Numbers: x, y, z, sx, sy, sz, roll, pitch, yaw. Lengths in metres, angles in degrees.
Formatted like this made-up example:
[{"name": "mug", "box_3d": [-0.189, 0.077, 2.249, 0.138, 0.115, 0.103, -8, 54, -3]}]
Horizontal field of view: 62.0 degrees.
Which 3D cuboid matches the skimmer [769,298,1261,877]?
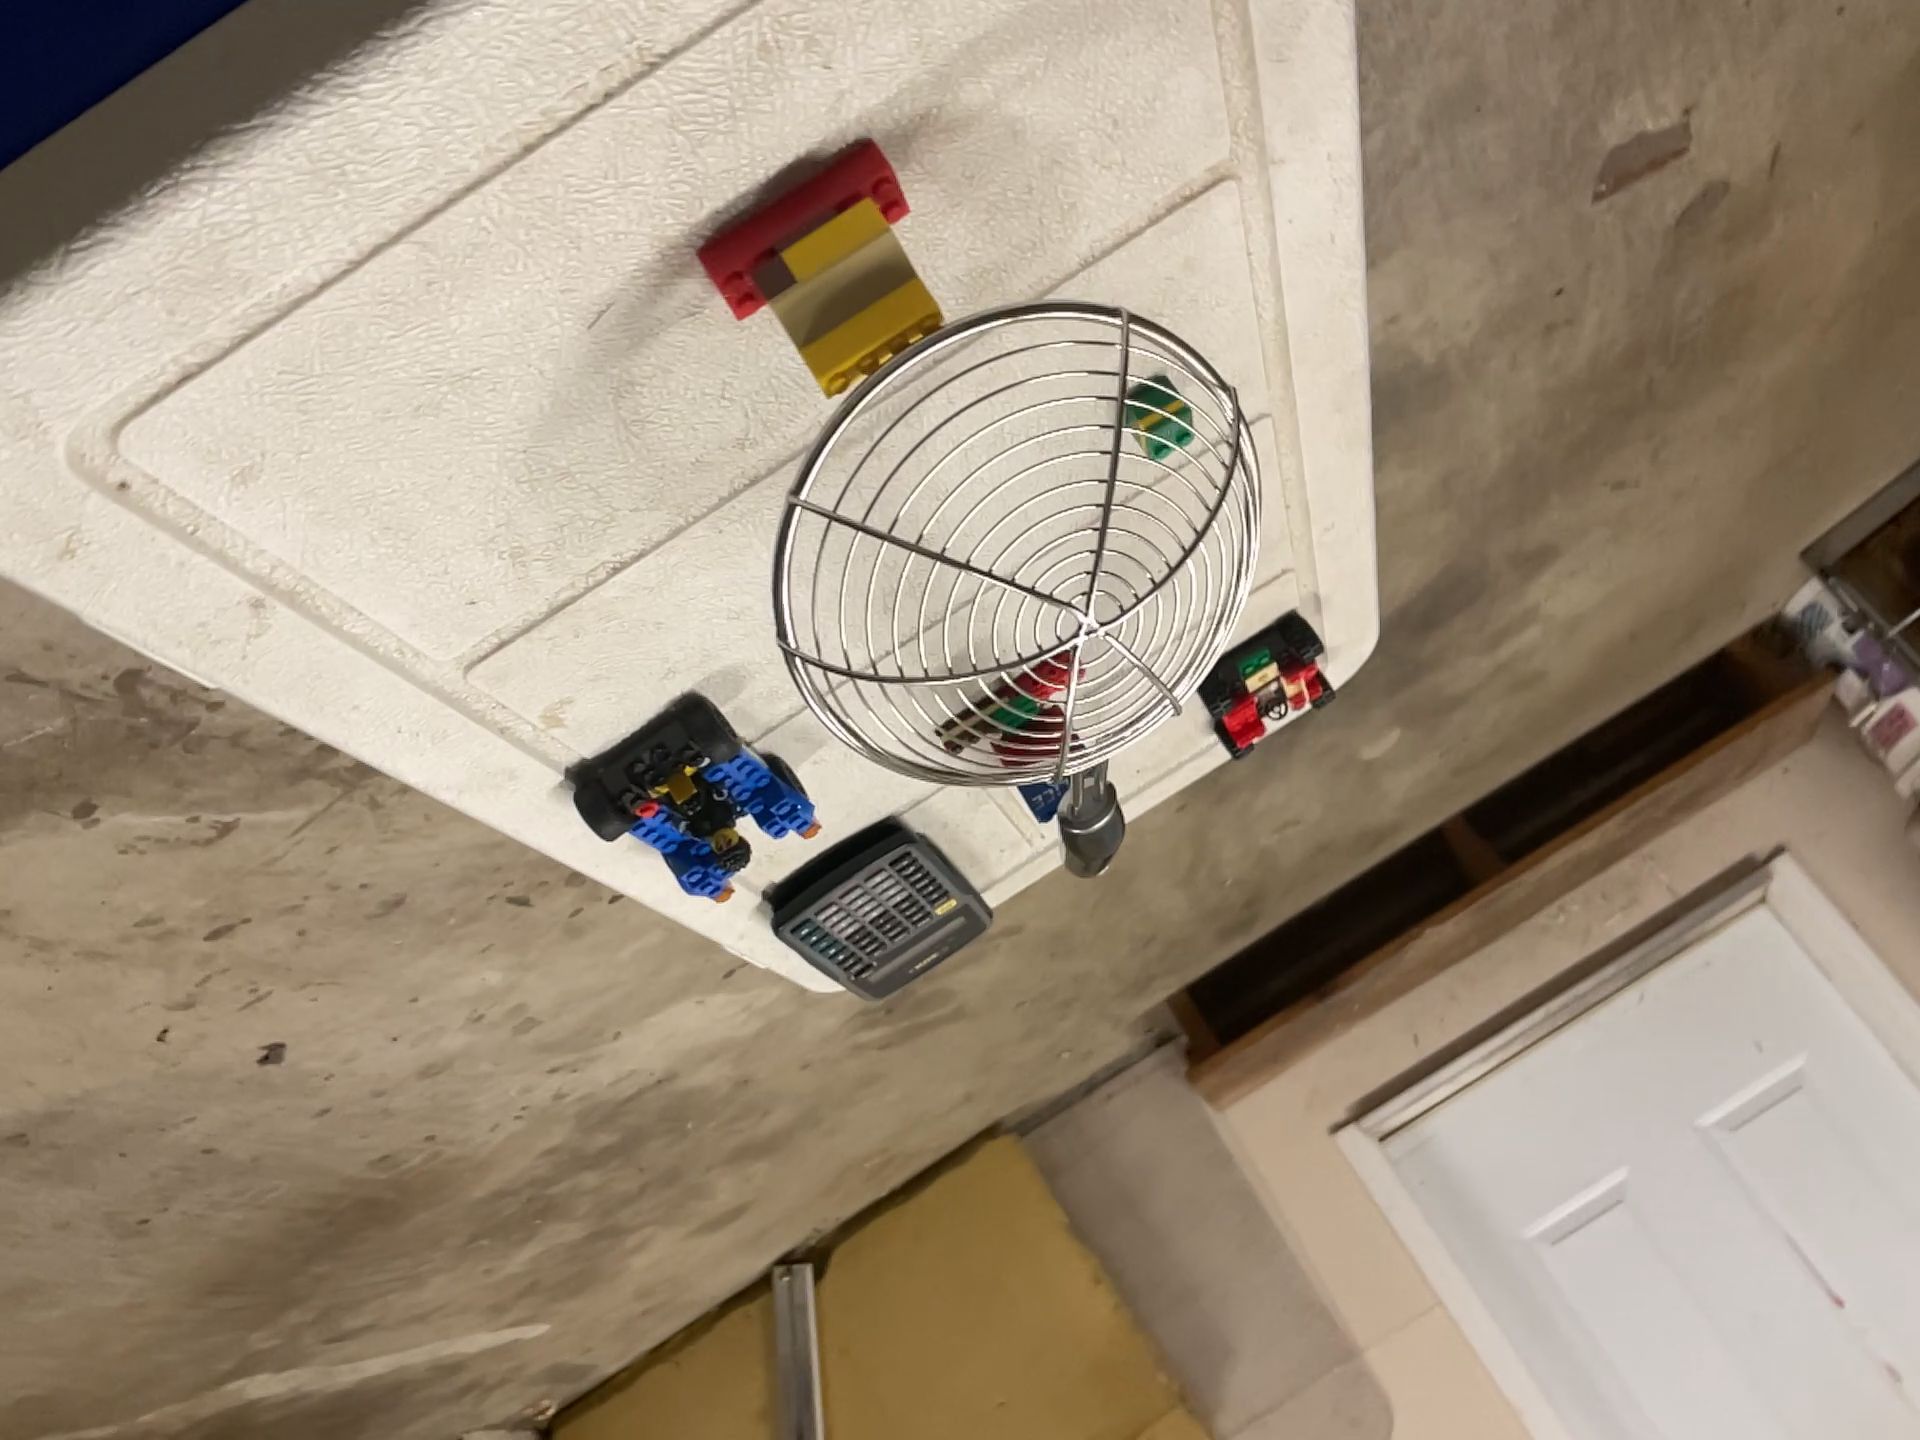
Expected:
[{"name": "skimmer", "box_3d": [0.026, -0.008, 0.513, 0.127, 0.090, 0.363, -31, 167, -3]}]
